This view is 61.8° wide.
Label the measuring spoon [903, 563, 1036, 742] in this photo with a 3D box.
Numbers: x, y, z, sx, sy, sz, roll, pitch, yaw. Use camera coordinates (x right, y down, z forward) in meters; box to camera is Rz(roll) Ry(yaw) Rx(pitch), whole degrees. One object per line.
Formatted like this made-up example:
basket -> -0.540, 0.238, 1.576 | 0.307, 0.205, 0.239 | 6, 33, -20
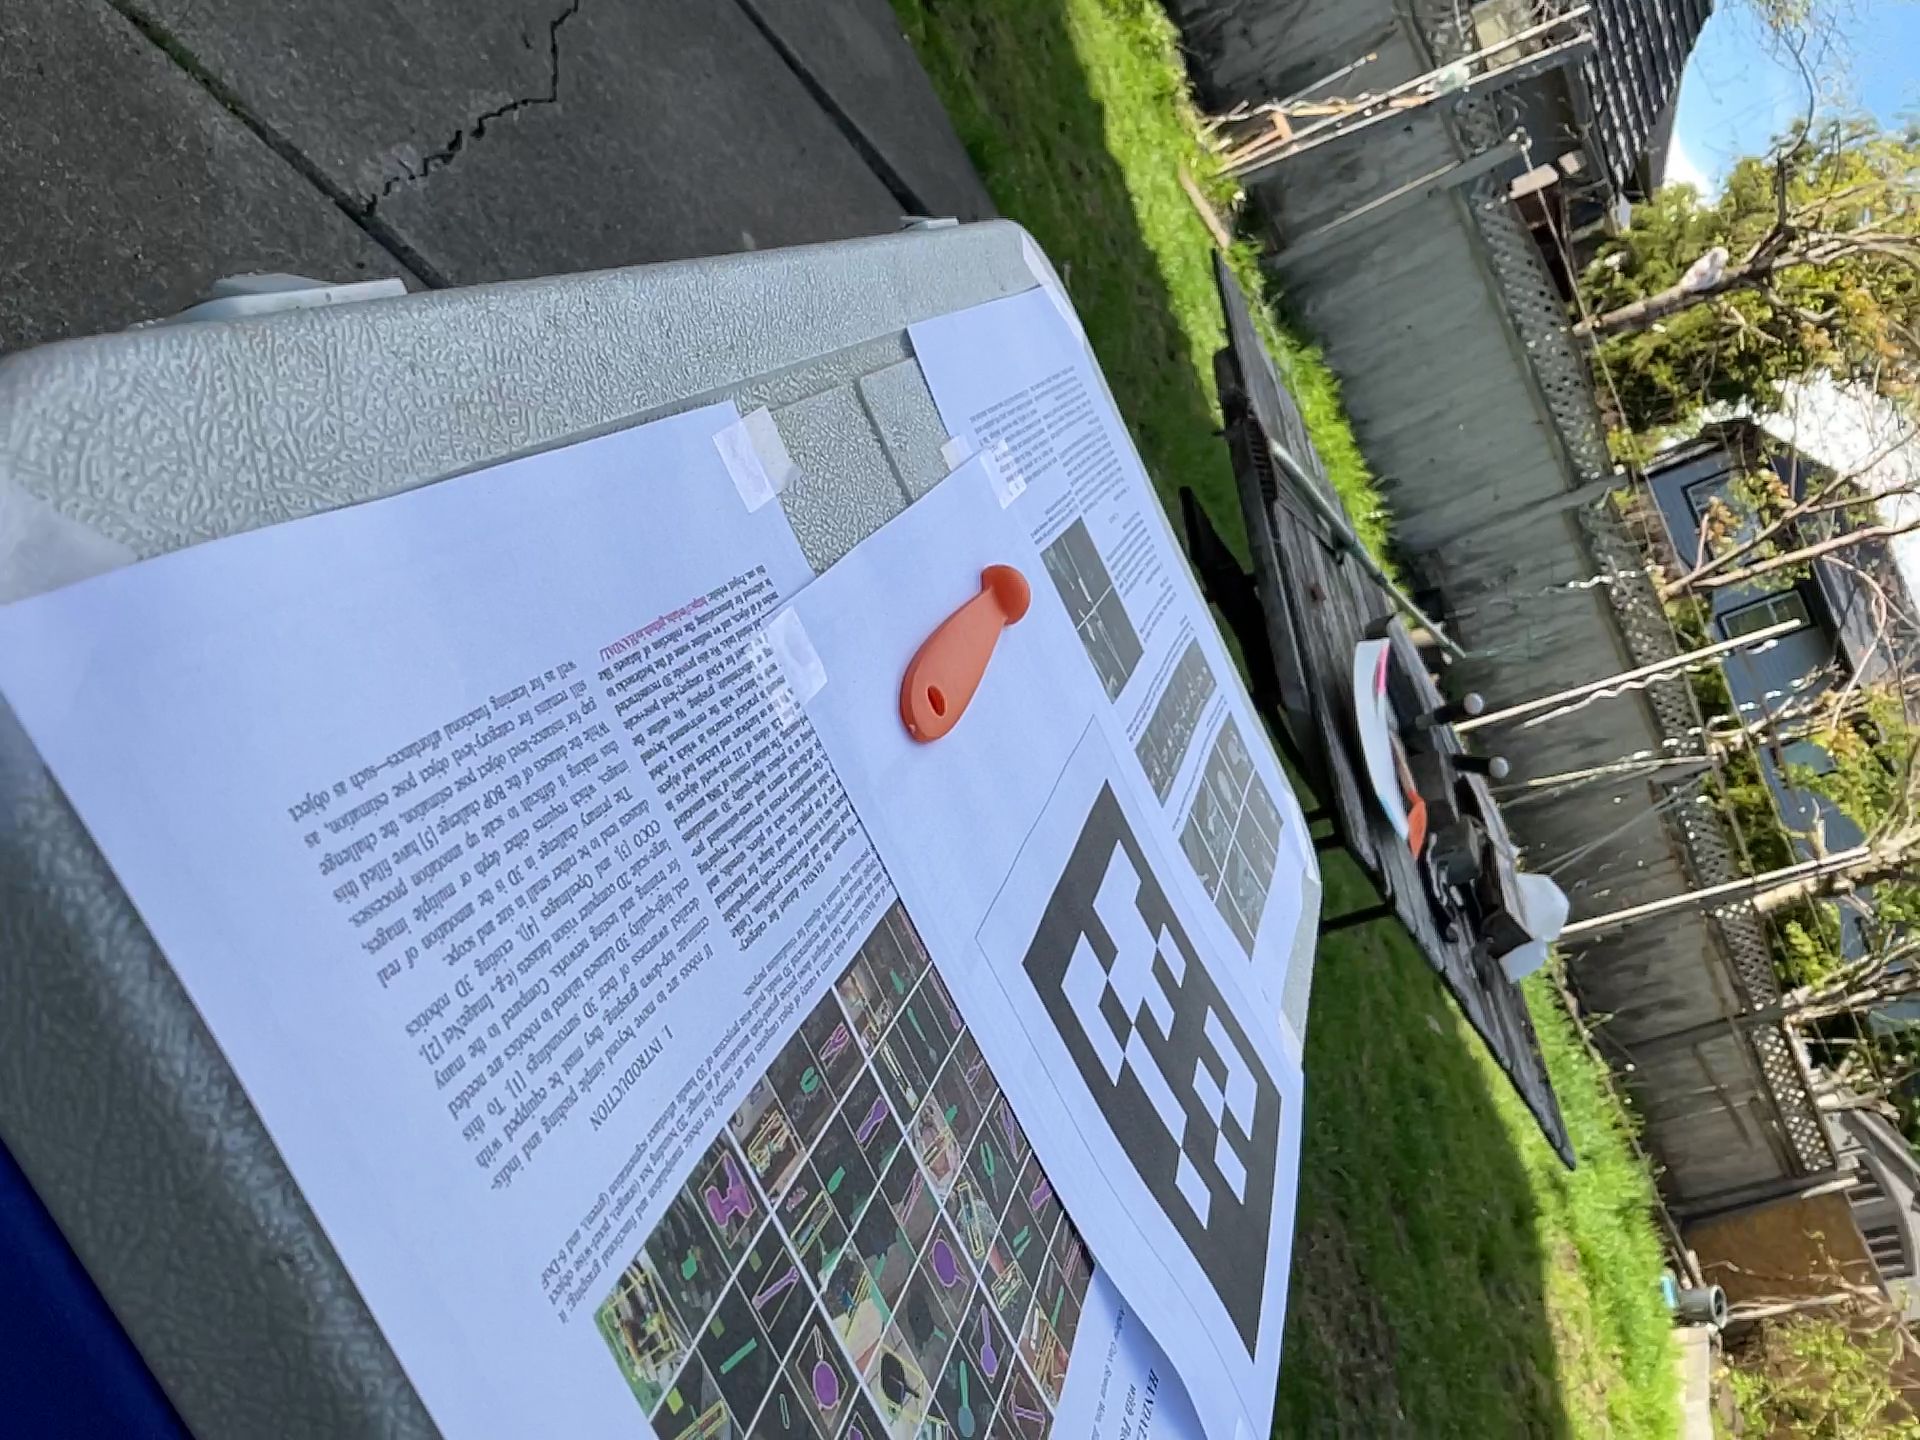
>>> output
measuring spoon -> 0.005, -0.022, 0.446 | 0.021, 0.011, 0.117 | 57, 24, -12
